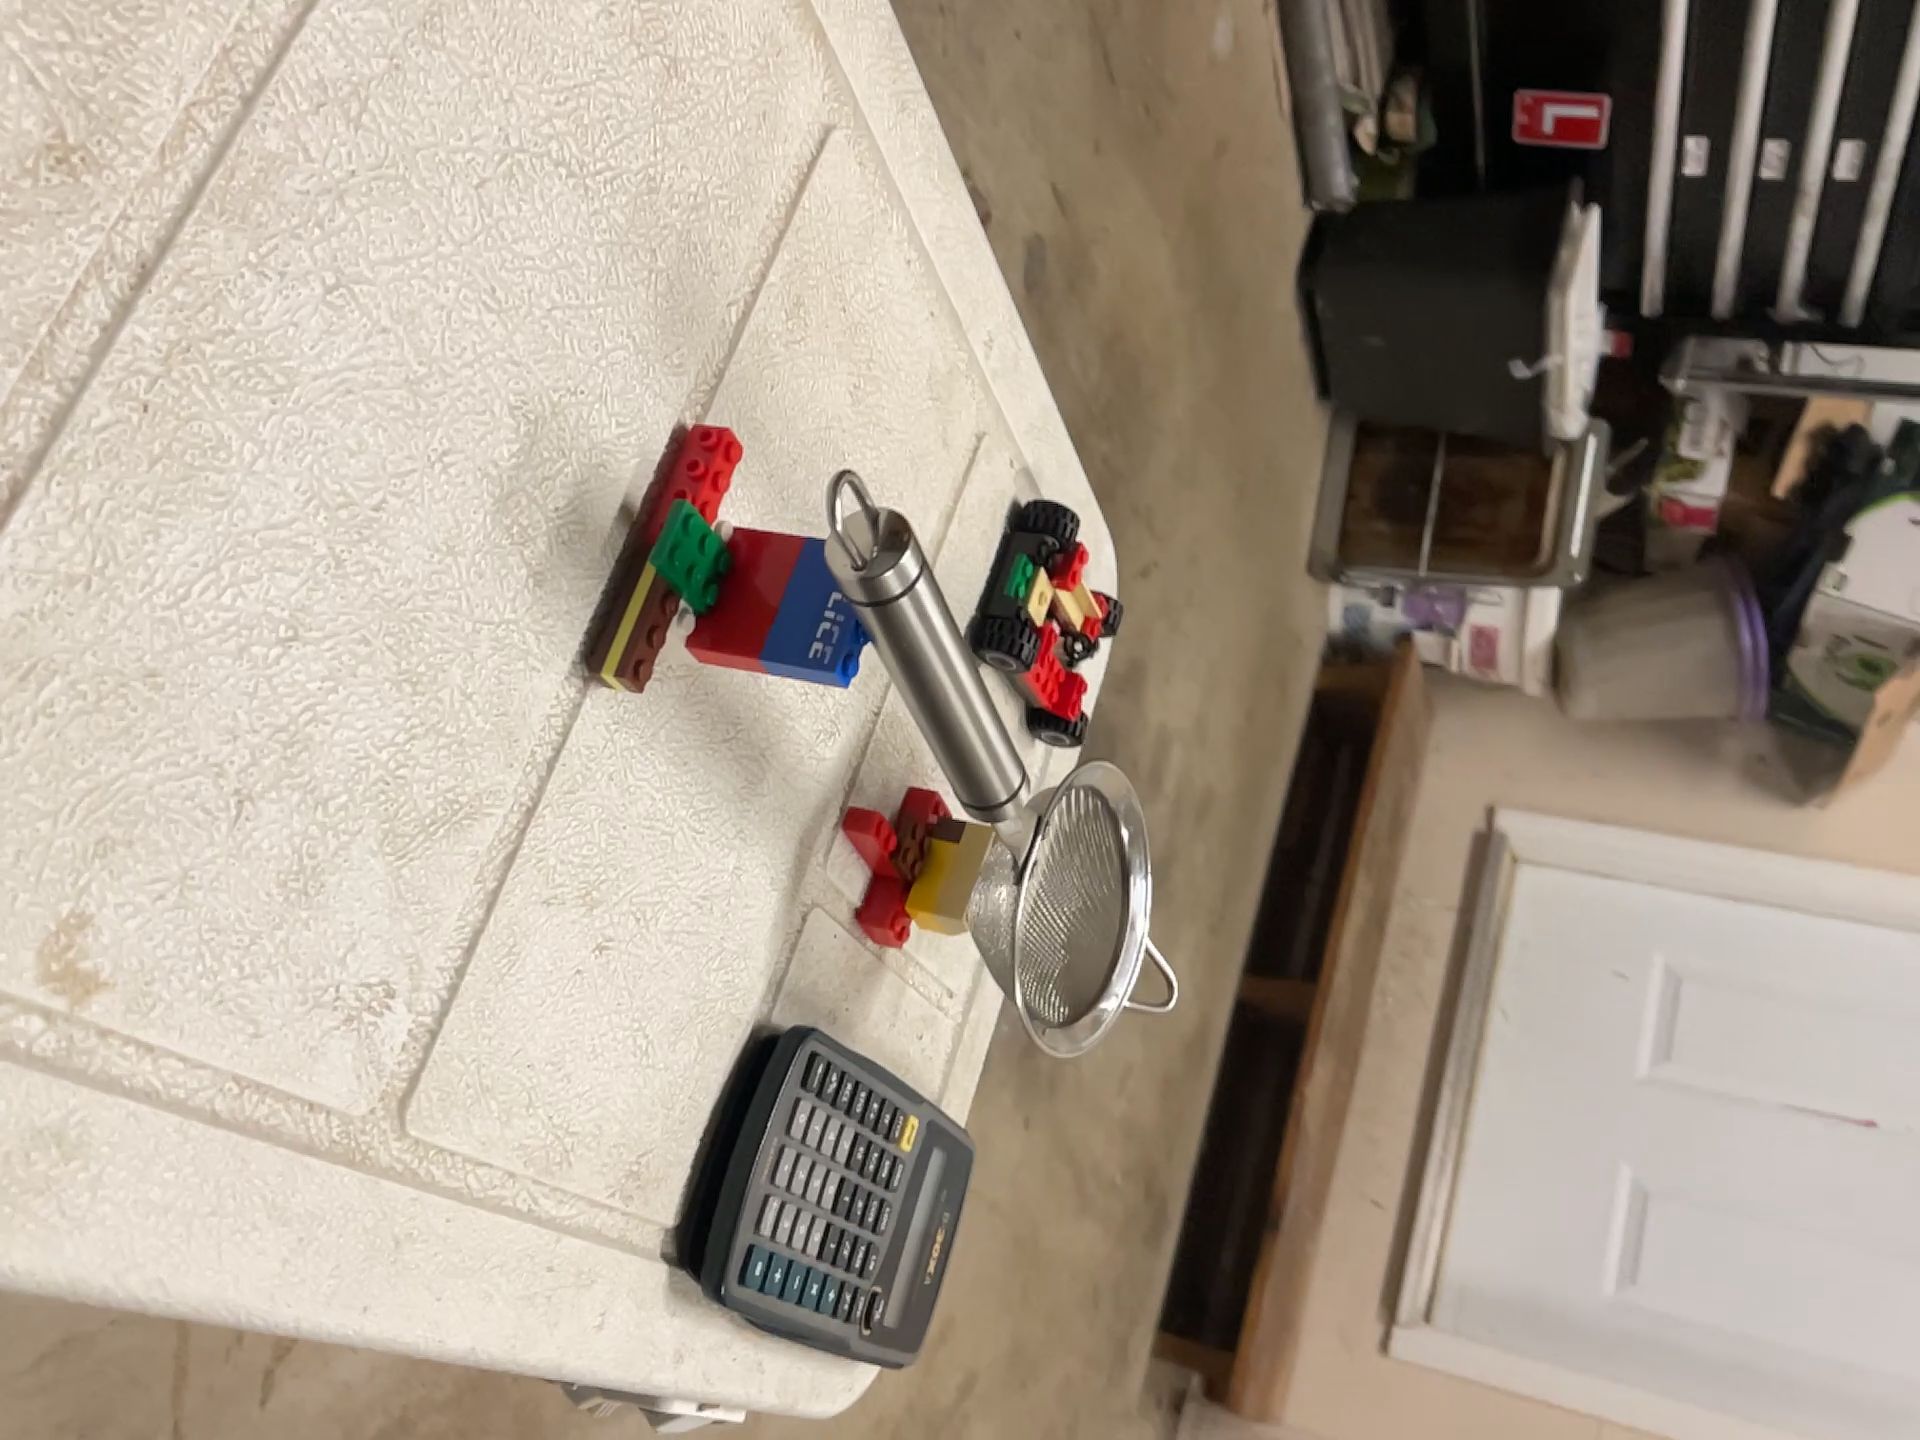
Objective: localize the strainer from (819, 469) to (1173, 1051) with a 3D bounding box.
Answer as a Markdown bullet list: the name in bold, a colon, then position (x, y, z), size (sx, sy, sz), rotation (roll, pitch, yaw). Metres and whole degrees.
- **strainer**: position (0.009, 0.018, 0.414), size (0.258, 0.050, 0.087), rotation (61, 43, -55)
